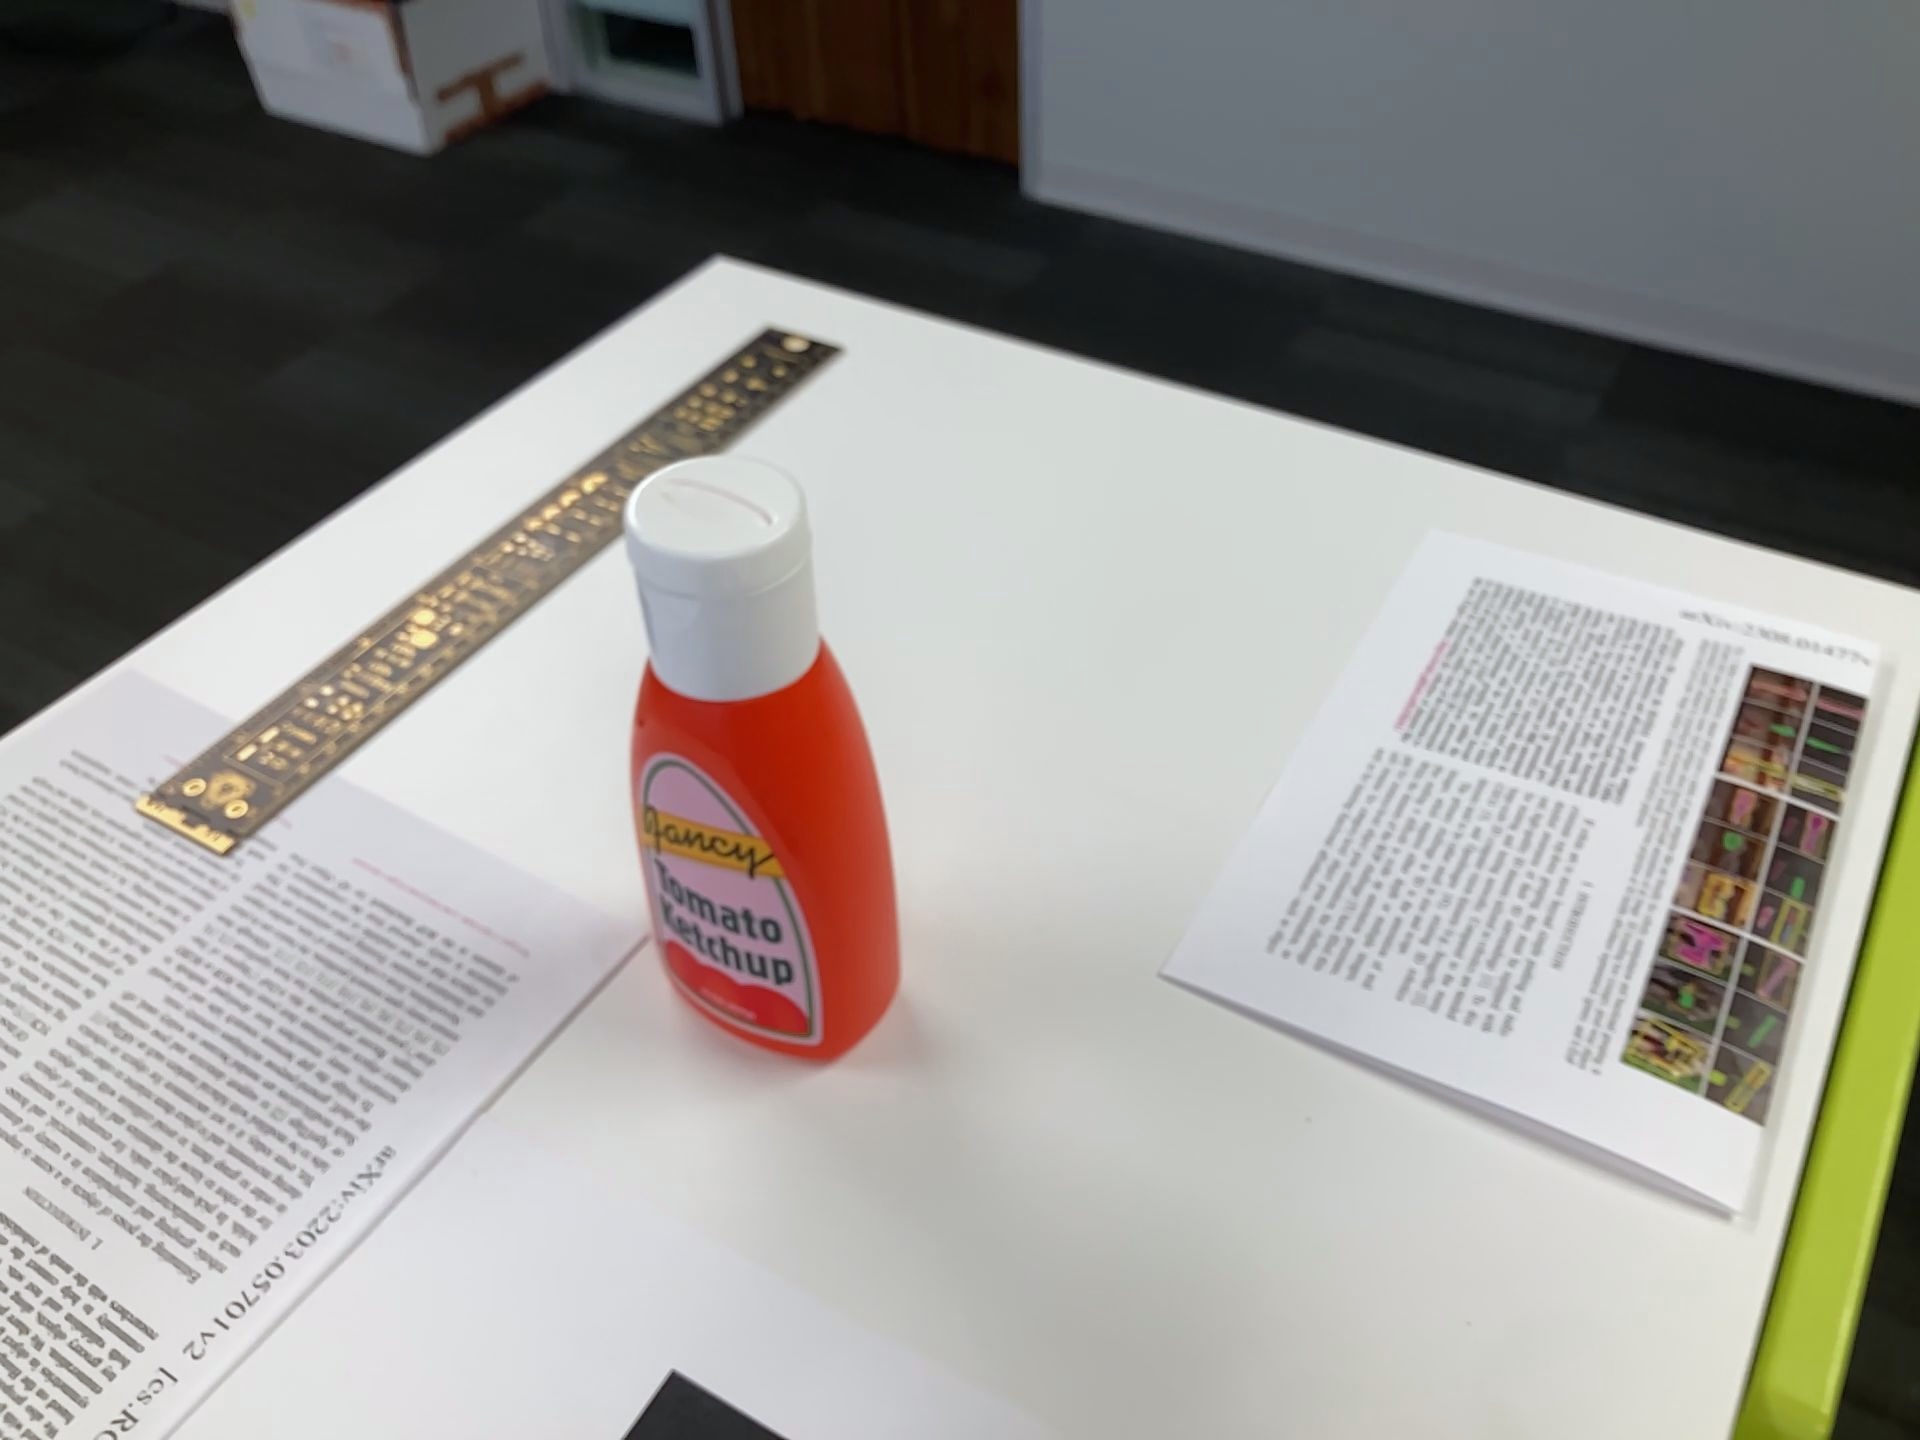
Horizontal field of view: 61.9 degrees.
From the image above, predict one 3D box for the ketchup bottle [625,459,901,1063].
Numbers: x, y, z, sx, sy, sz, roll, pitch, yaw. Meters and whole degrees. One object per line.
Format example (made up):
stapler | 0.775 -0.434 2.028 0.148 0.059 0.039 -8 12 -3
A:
ketchup bottle | -0.047 0.013 0.364 0.065 0.149 0.043 22 46 24
